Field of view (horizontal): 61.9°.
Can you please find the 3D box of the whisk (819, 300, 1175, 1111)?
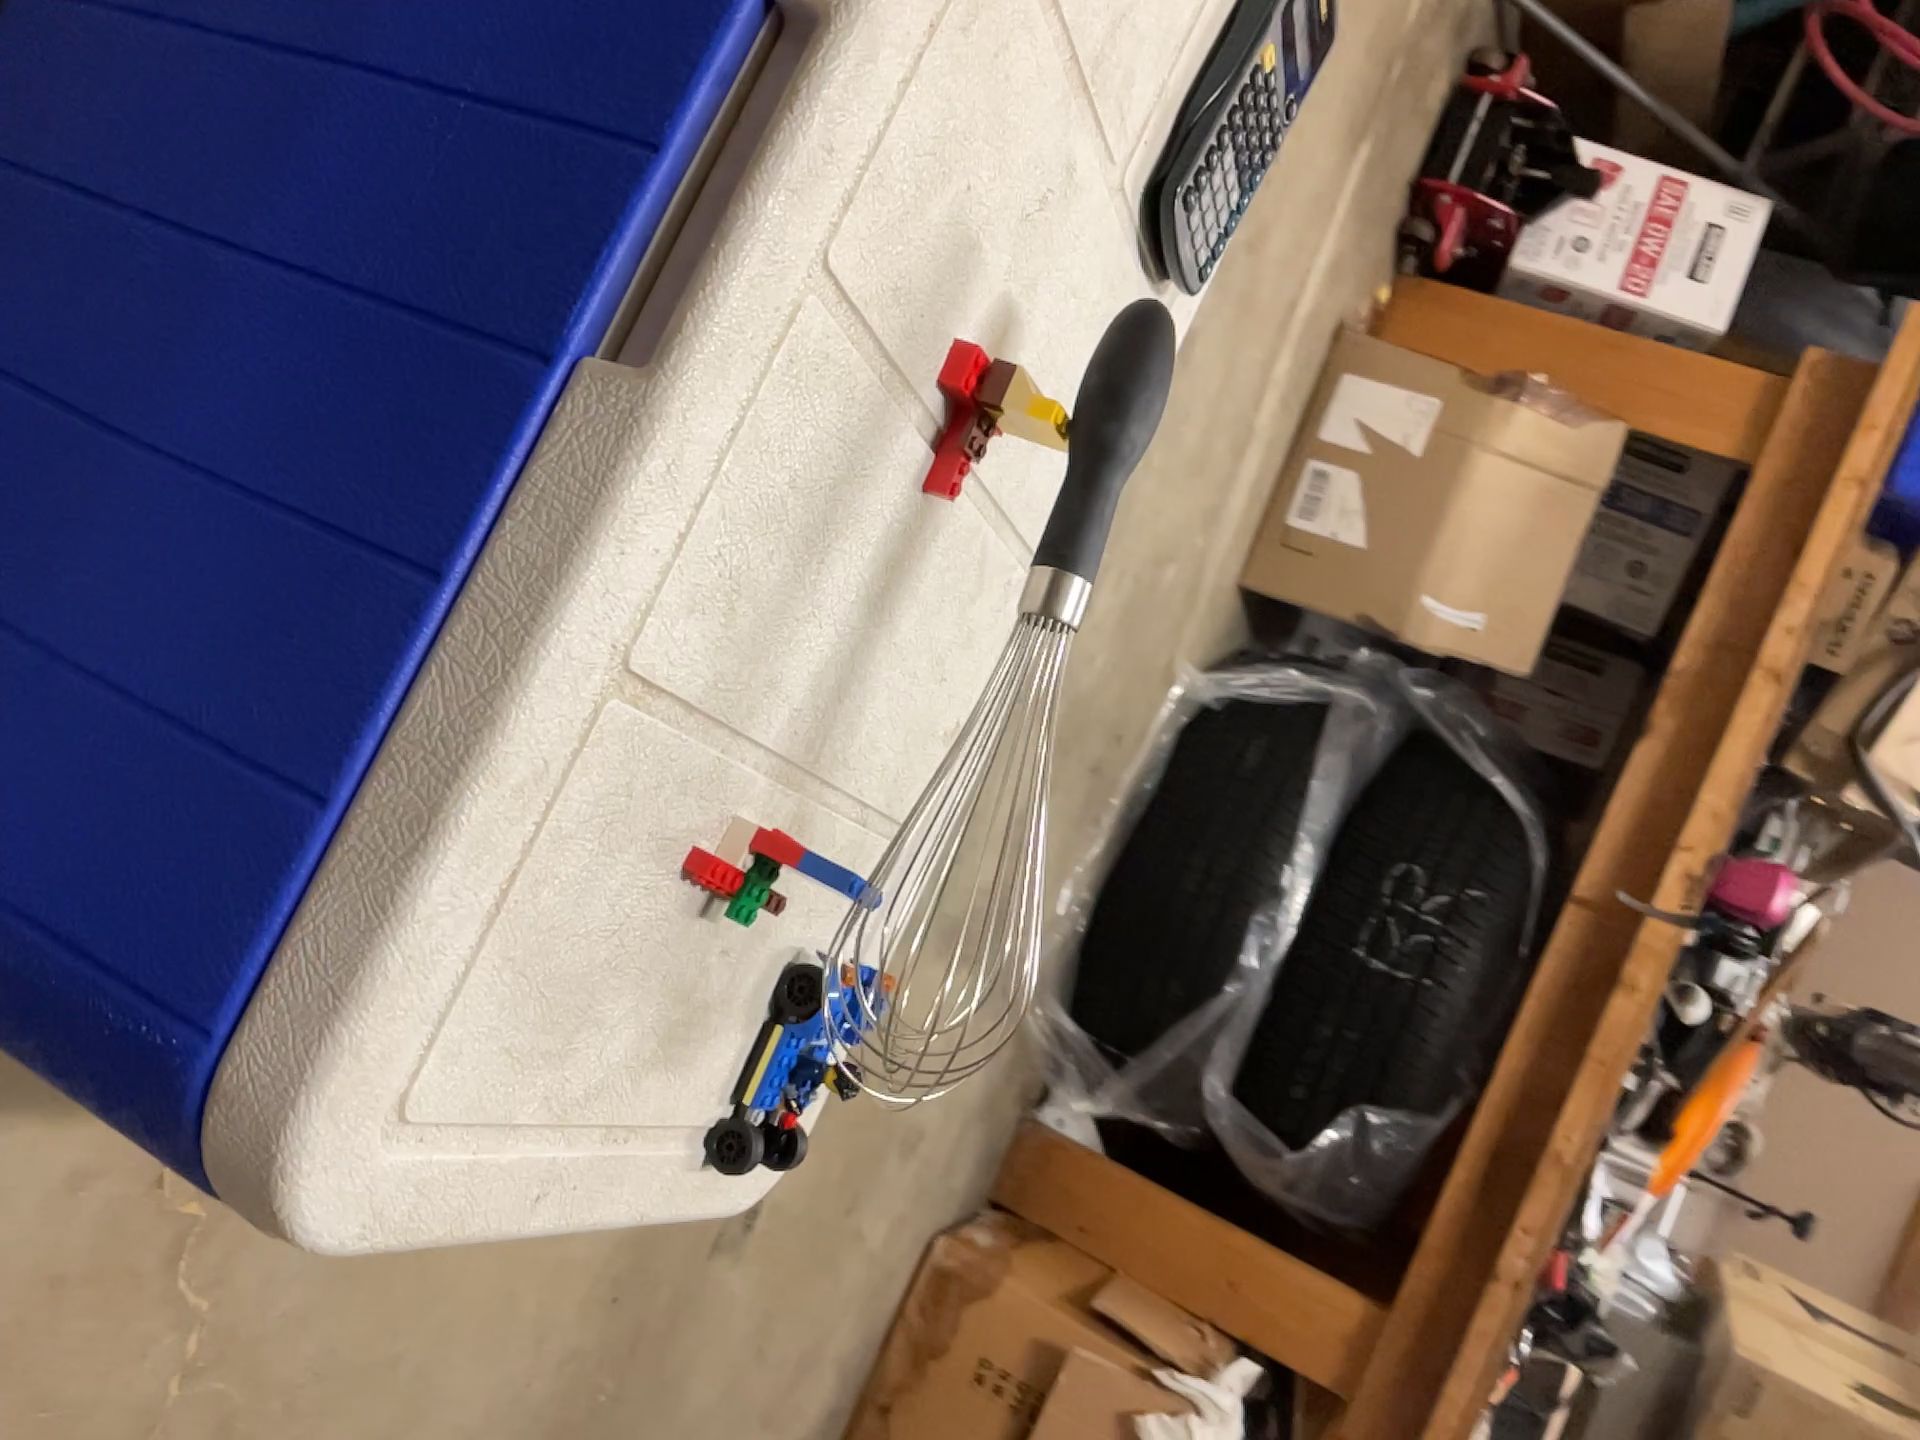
[{"bbox_3d":[0.021,-0.010,0.530,0.070,0.070,0.284,34,73,-63],"label":"whisk"}]
